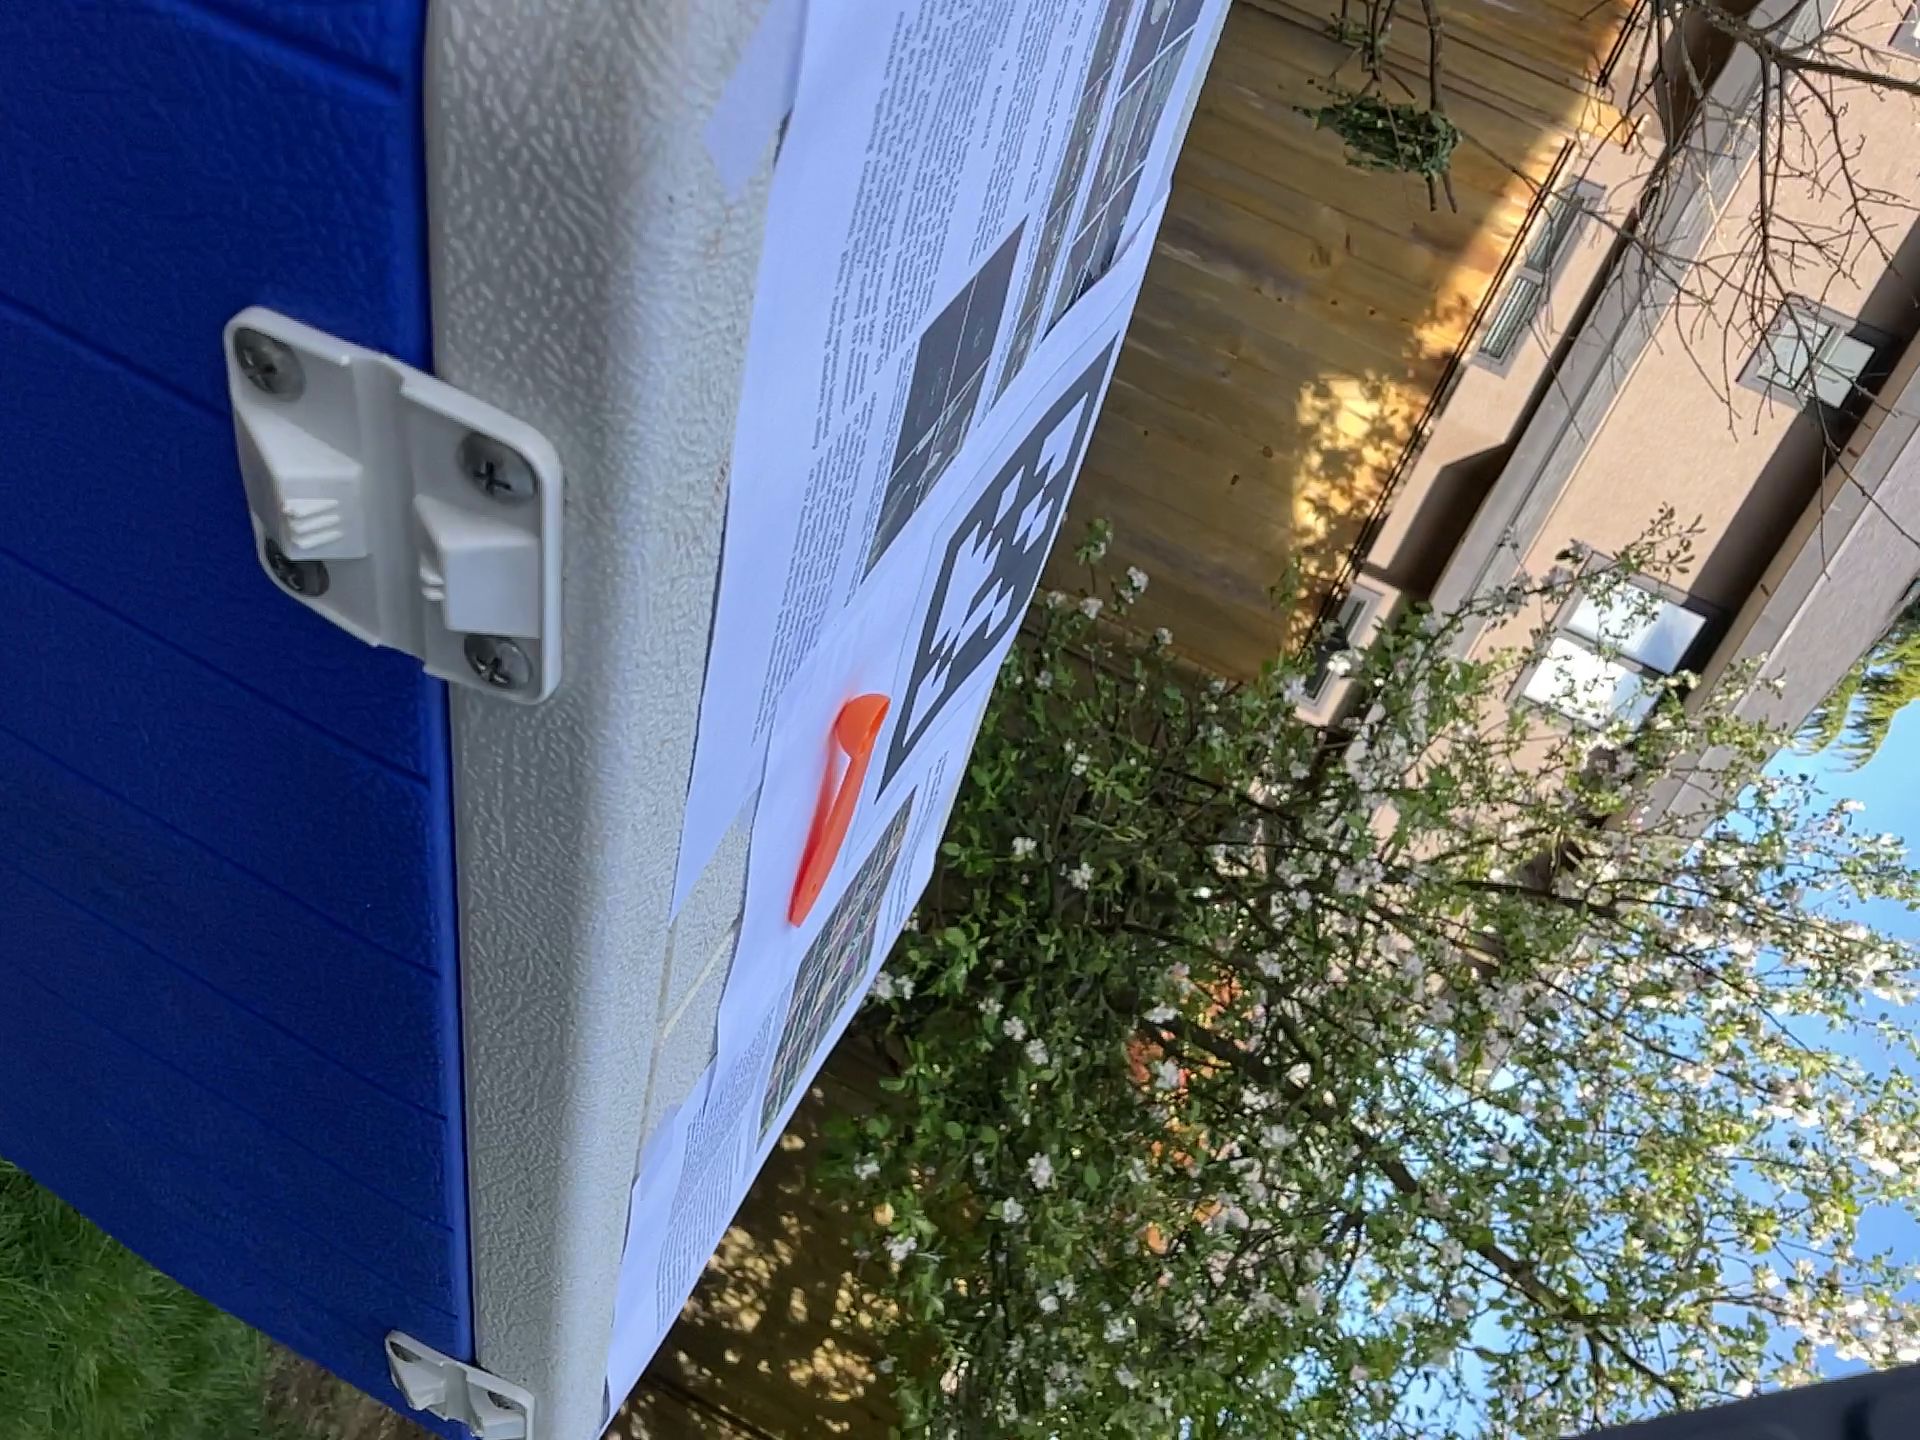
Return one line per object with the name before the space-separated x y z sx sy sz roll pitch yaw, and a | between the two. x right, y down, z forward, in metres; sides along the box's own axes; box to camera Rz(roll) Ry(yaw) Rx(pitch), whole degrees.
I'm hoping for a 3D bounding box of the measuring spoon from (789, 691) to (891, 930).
measuring spoon | -0.039 0.028 0.461 0.021 0.011 0.116 -58 175 -39
